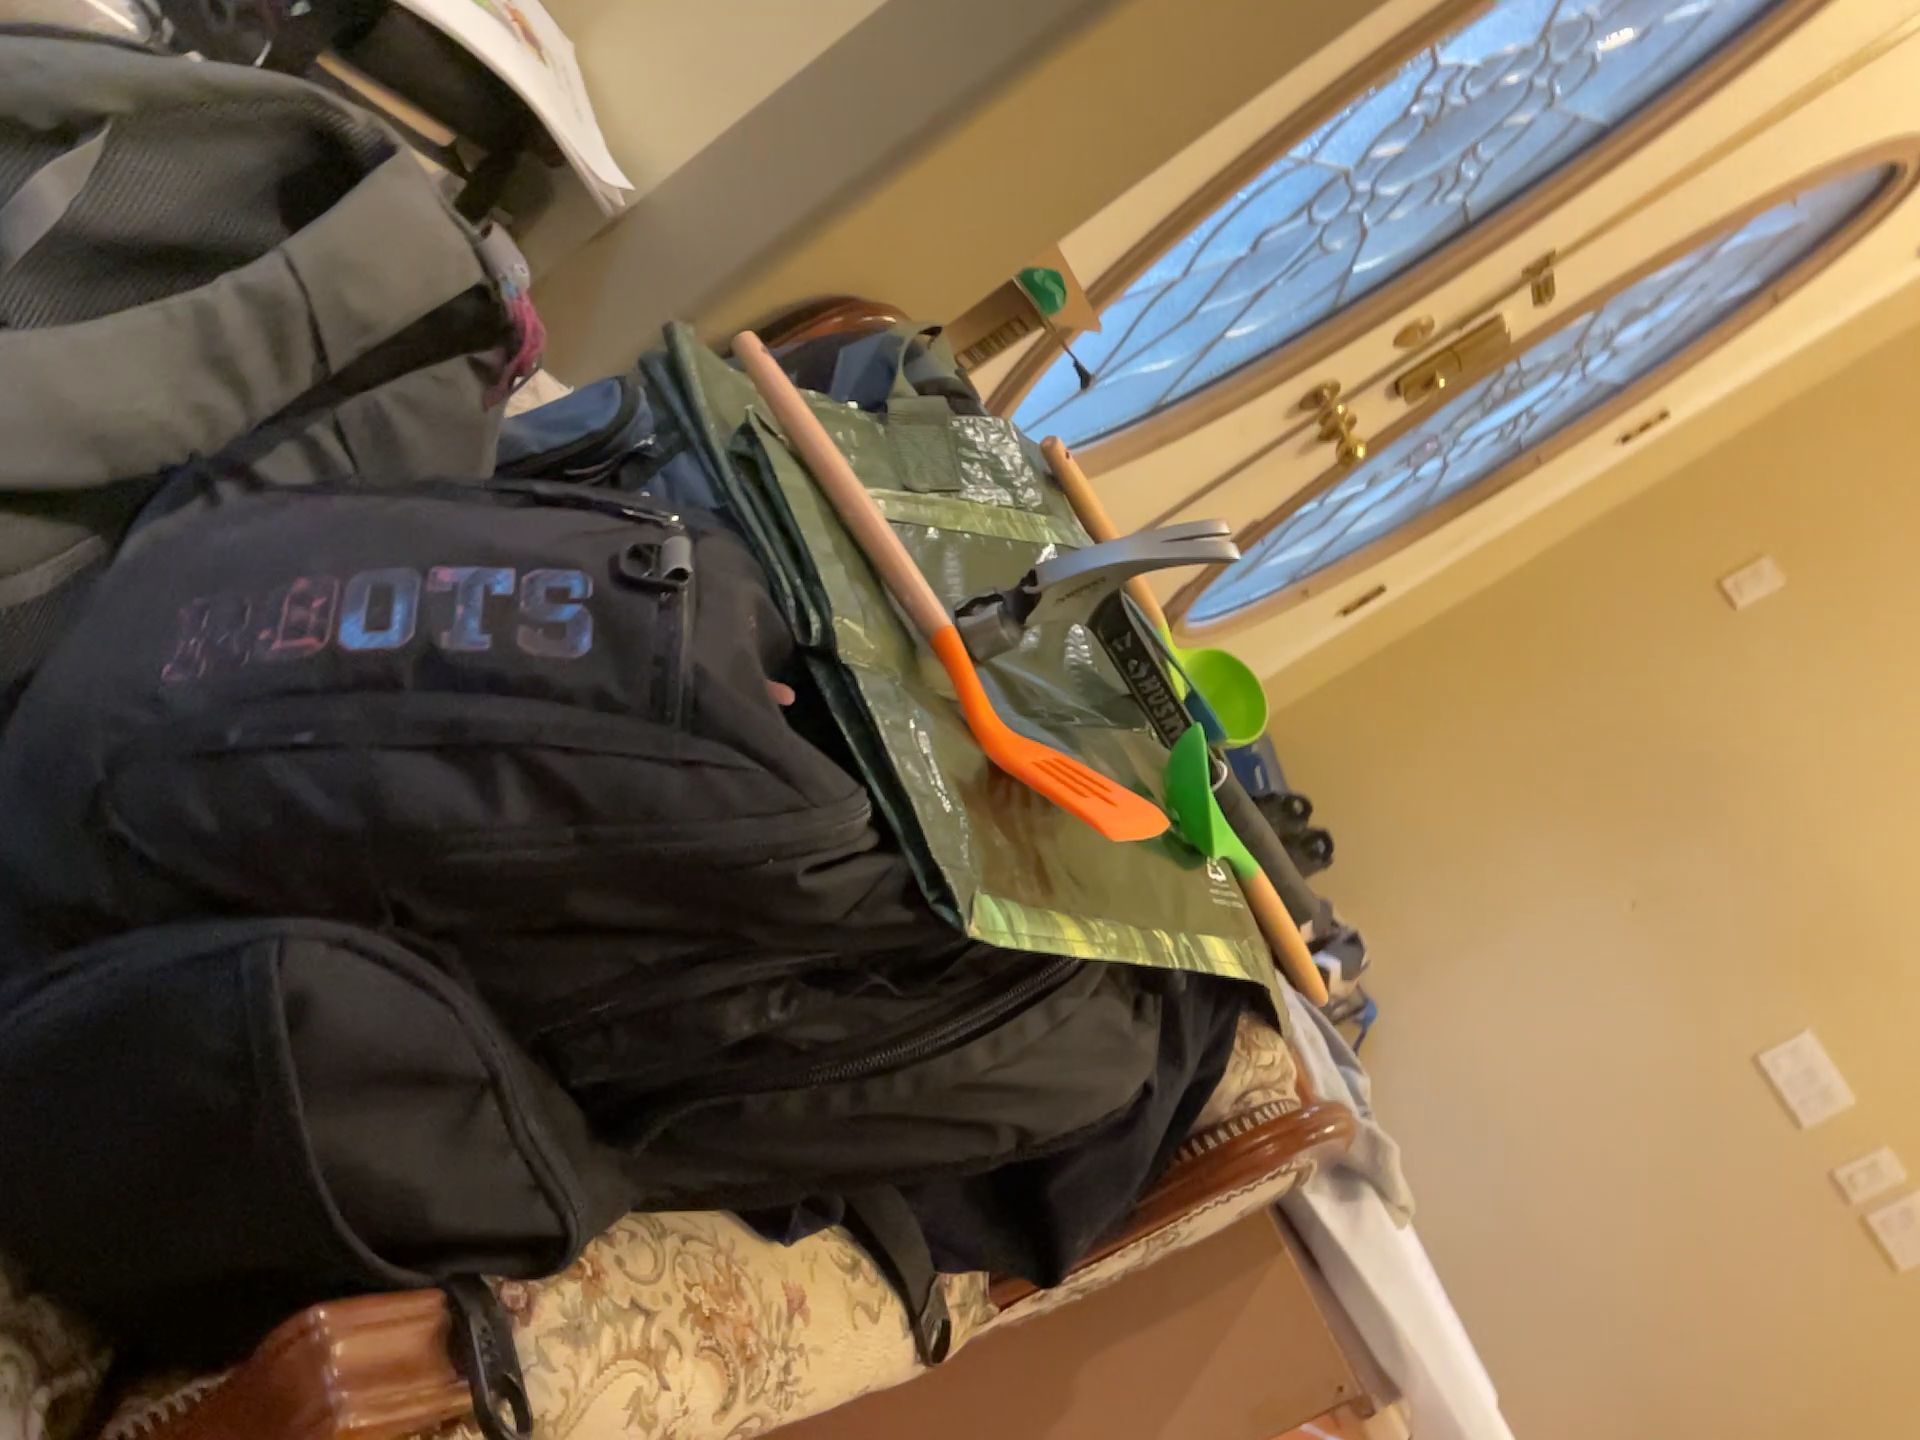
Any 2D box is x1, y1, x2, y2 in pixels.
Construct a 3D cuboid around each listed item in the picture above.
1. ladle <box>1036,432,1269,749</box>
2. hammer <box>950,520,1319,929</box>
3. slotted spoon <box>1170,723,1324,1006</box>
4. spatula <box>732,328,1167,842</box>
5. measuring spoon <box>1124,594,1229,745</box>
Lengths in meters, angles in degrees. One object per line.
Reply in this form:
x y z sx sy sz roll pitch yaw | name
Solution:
0.131 -0.083 1.056 0.319 0.062 0.078 51 39 -46 | ladle
0.147 0.026 0.951 0.408 0.149 0.036 51 23 -47 | hammer
0.174 0.101 0.930 0.313 0.031 0.070 54 26 -49 | slotted spoon
-0.016 -0.067 0.750 0.323 0.041 0.081 57 22 14 | spatula
0.135 -0.030 1.033 0.128 0.021 0.042 51 13 -26 | measuring spoon
